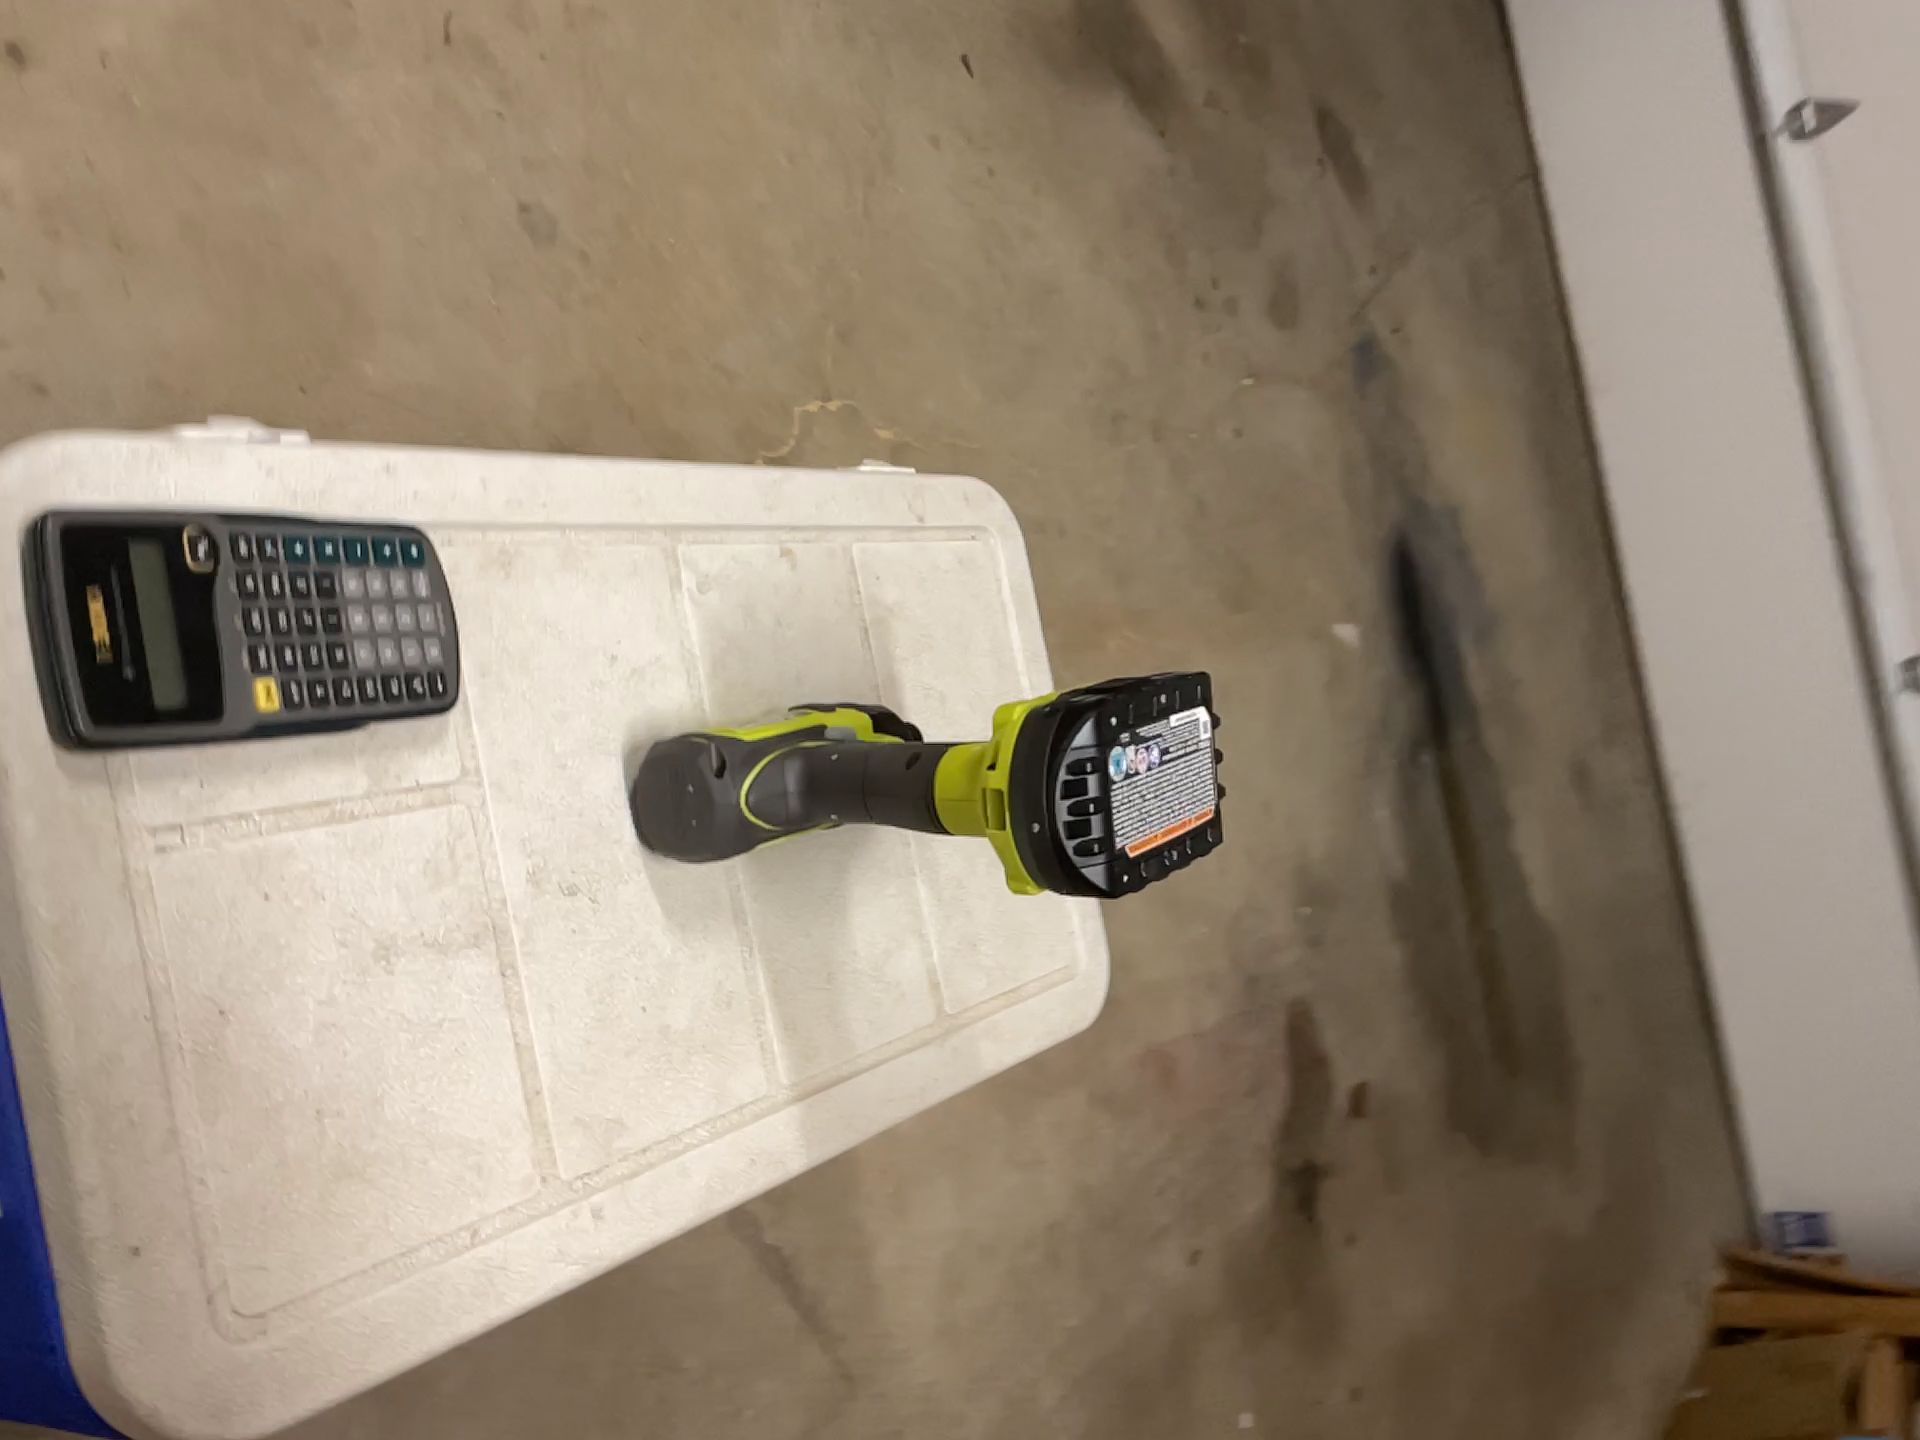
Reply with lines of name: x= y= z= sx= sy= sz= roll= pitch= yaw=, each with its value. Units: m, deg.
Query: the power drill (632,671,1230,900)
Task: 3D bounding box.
power drill: x=-0.005 y=0.022 z=0.692 sx=0.171 sy=0.223 sz=0.080 roll=-14 pitch=101 yaw=-54
